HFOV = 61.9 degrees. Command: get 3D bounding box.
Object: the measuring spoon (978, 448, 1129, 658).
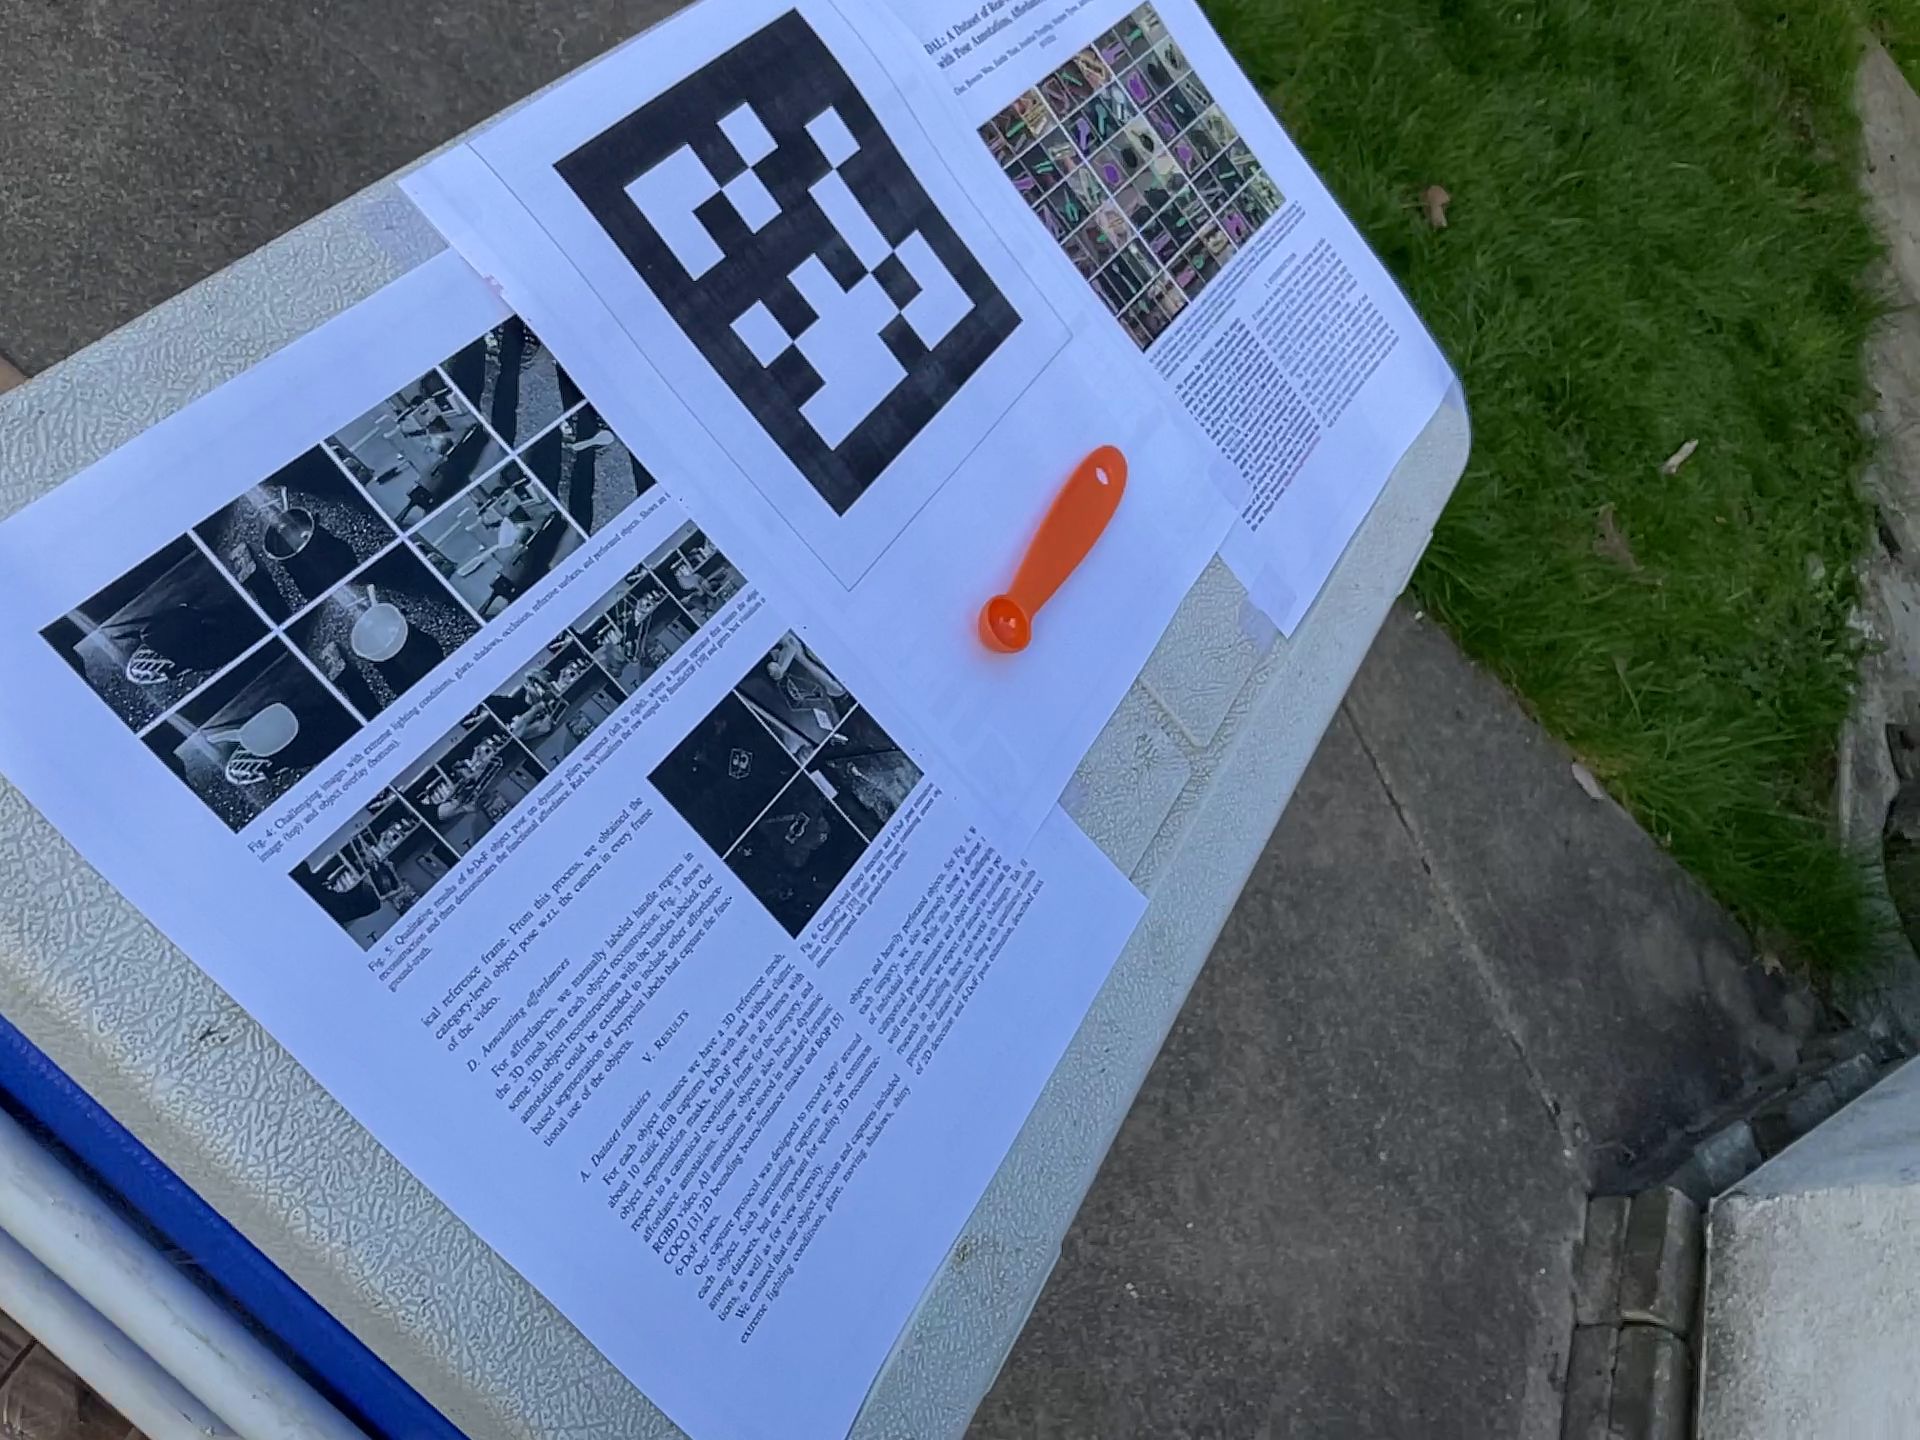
[{"bbox_3d":[0.032,-0.058,0.537,0.021,0.011,0.117,47,45,-15],"label":"measuring spoon"}]
